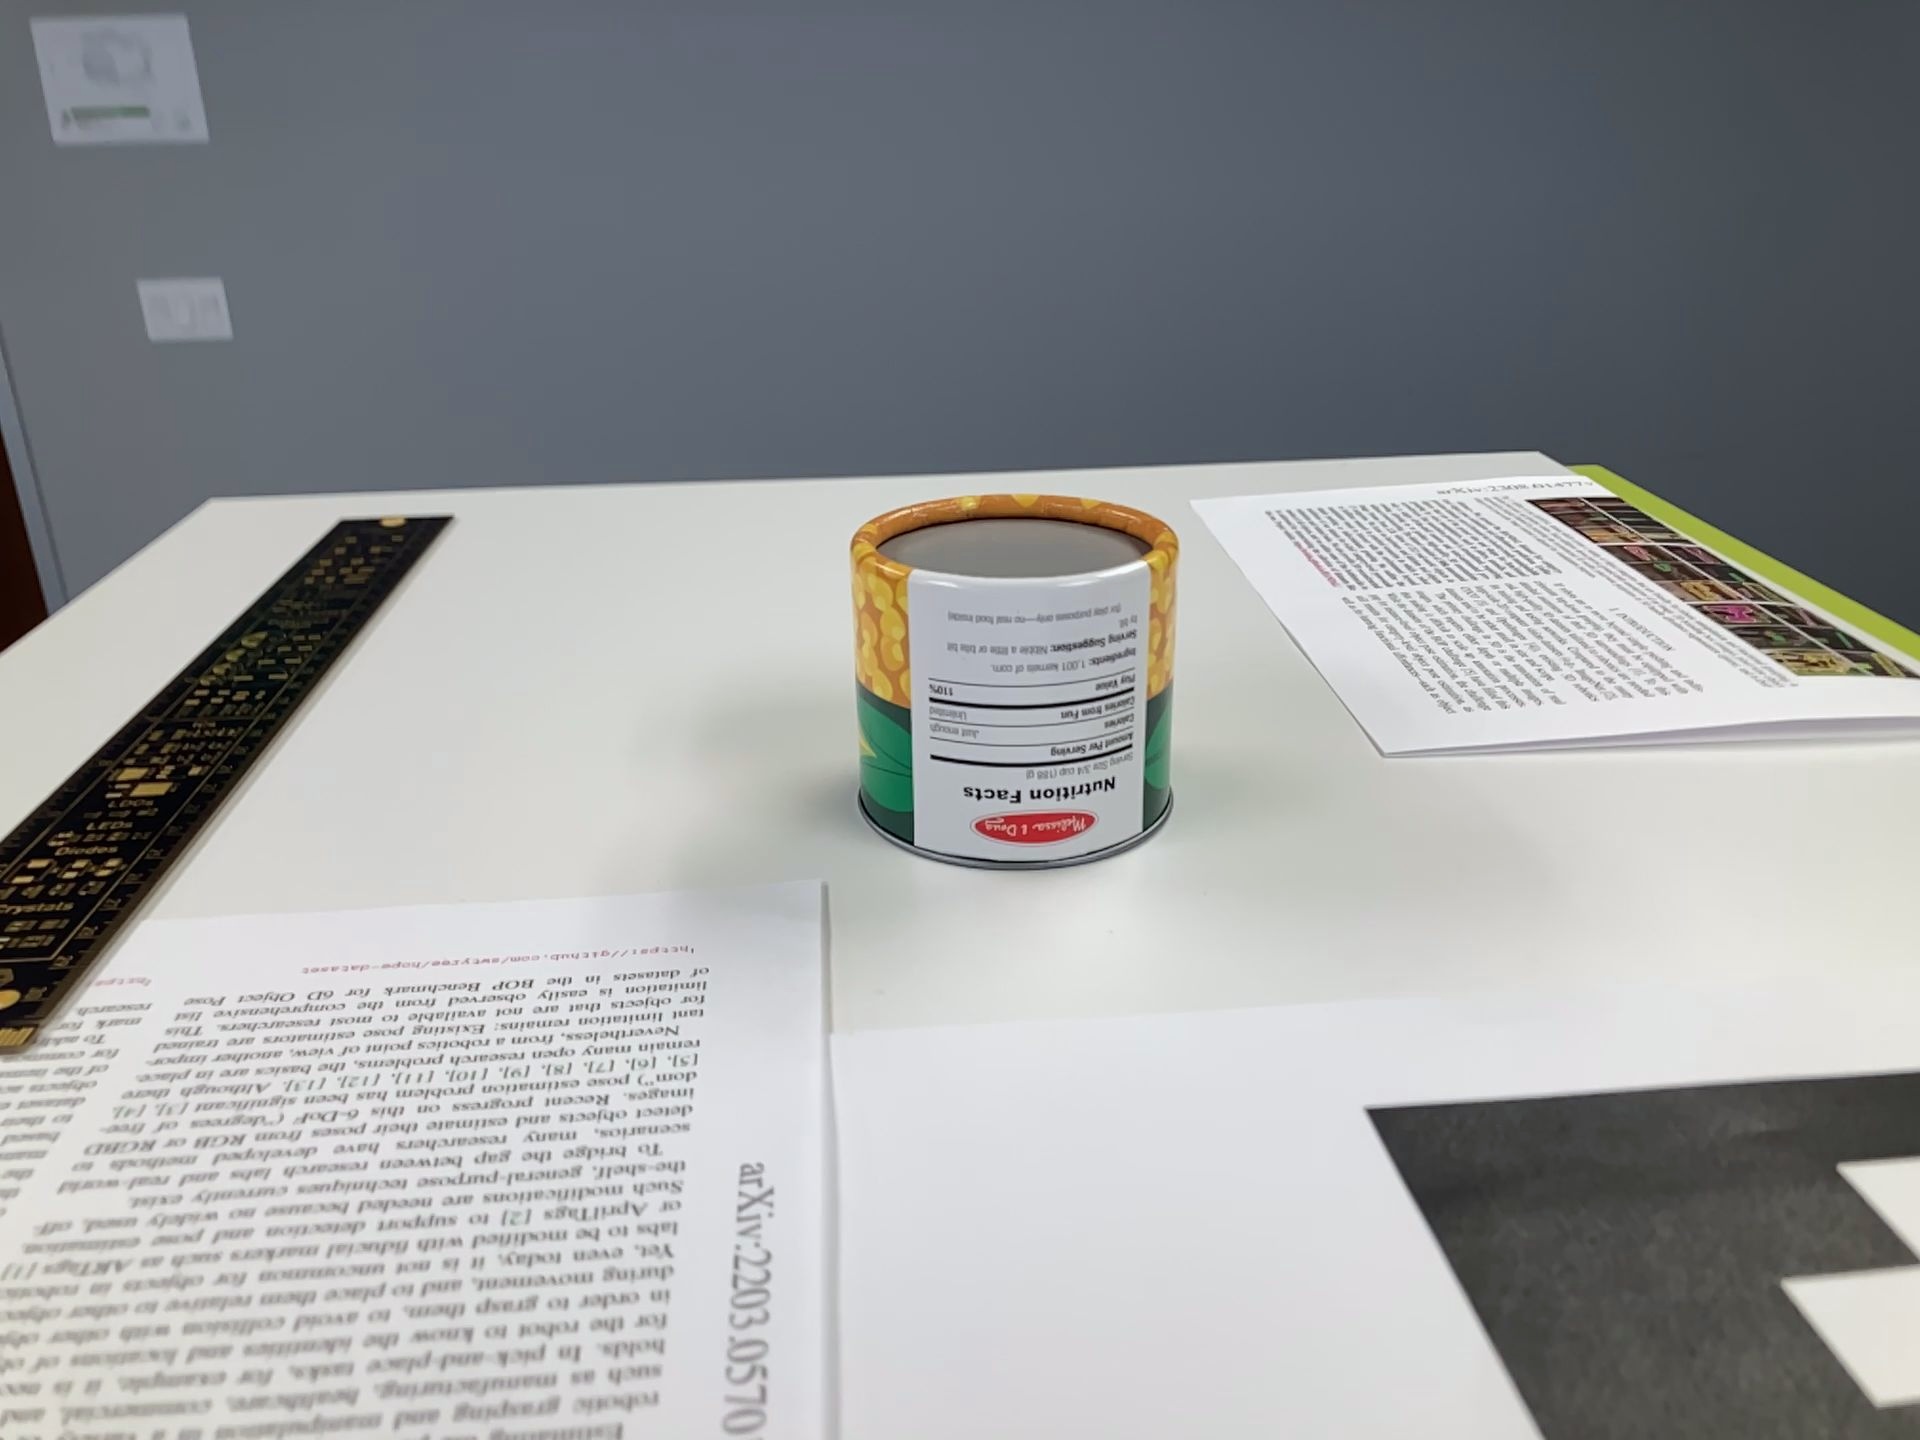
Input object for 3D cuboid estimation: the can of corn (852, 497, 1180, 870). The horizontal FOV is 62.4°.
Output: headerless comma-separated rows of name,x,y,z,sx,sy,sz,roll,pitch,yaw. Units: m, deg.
can of corn,0.011,-0.011,0.328,0.071,0.058,0.071,-1,22,0
